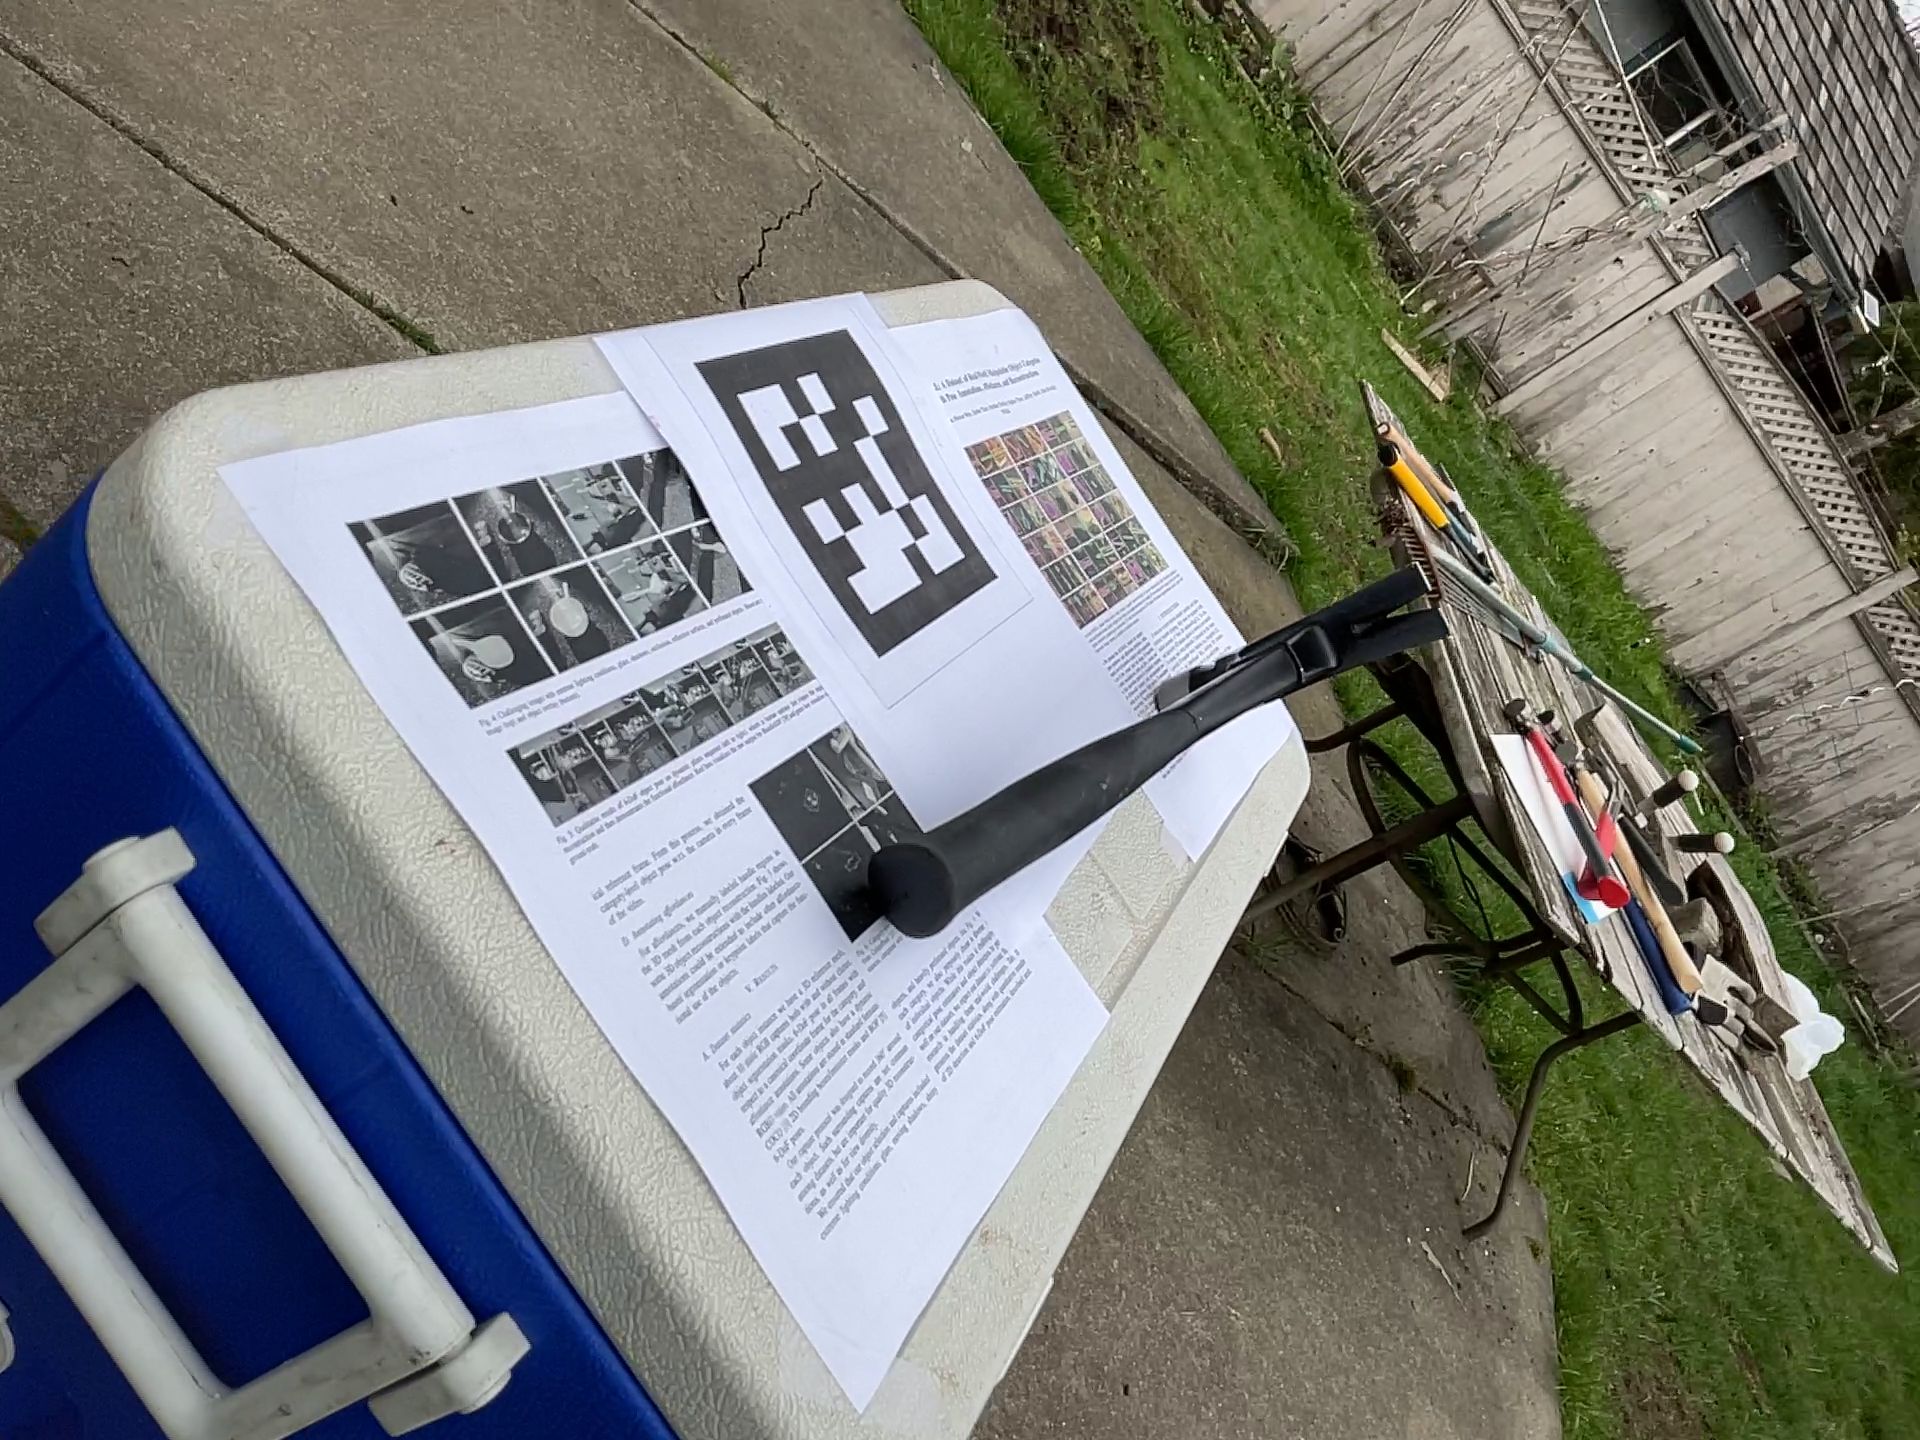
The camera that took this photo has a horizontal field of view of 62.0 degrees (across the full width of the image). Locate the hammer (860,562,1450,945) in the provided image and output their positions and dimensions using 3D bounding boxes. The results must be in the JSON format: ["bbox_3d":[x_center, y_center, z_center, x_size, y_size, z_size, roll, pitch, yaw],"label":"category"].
[{"bbox_3d":[0.074,0.009,0.609,0.334,0.146,0.035,-25,89,-53],"label":"hammer"}]
